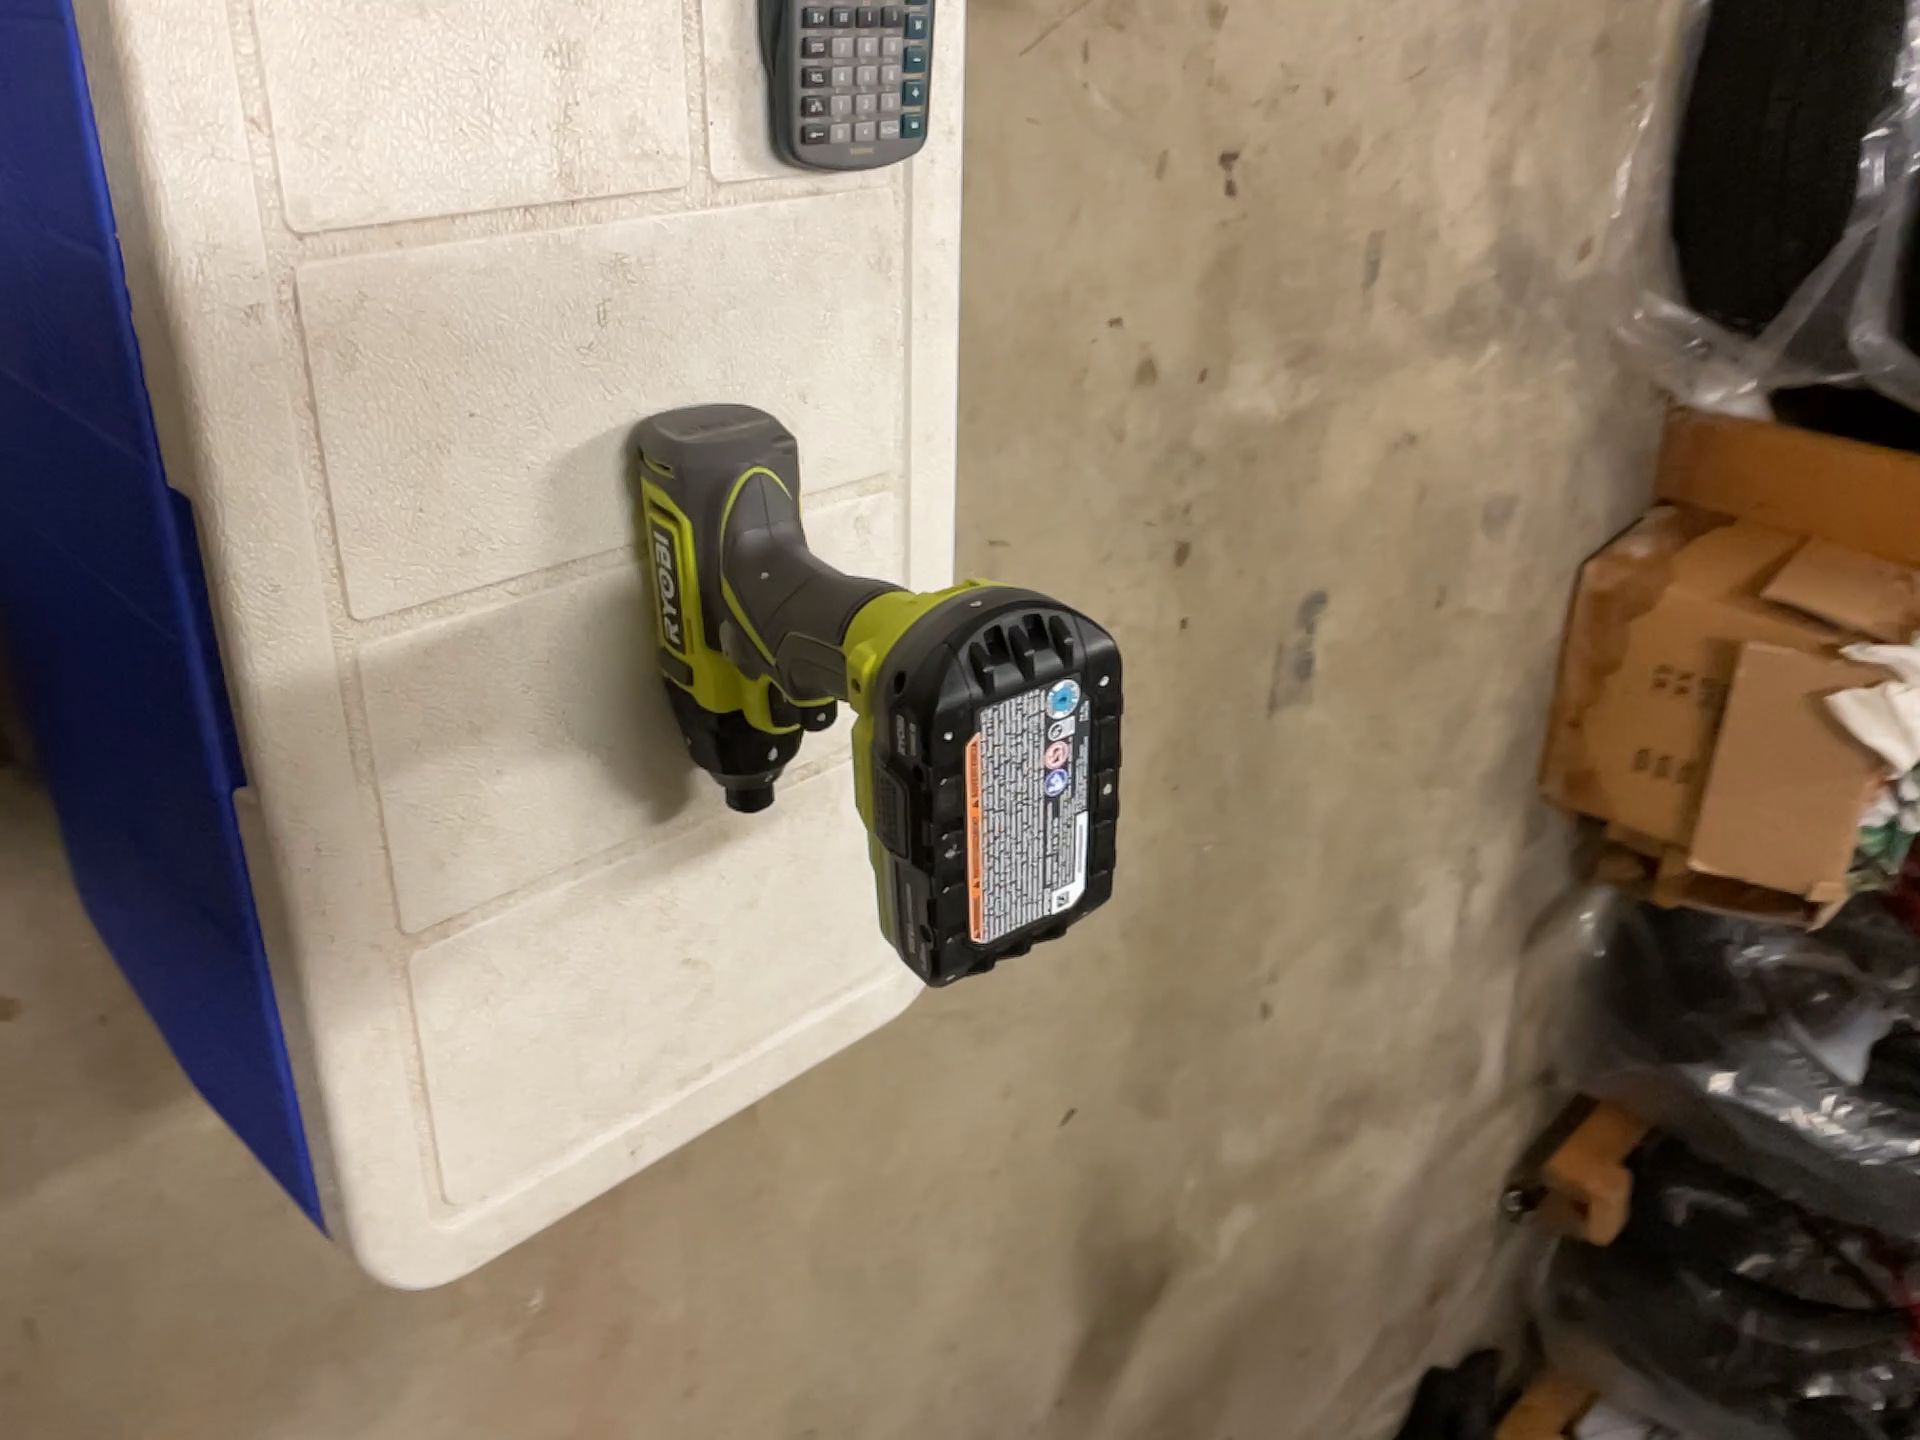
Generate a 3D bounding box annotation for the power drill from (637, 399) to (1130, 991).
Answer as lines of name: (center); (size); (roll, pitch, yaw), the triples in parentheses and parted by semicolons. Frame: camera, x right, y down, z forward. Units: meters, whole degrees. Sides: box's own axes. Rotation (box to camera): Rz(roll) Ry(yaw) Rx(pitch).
power drill: (-0.042, -0.006, 0.580); (0.080, 0.223, 0.171); (-19, 124, -30)
